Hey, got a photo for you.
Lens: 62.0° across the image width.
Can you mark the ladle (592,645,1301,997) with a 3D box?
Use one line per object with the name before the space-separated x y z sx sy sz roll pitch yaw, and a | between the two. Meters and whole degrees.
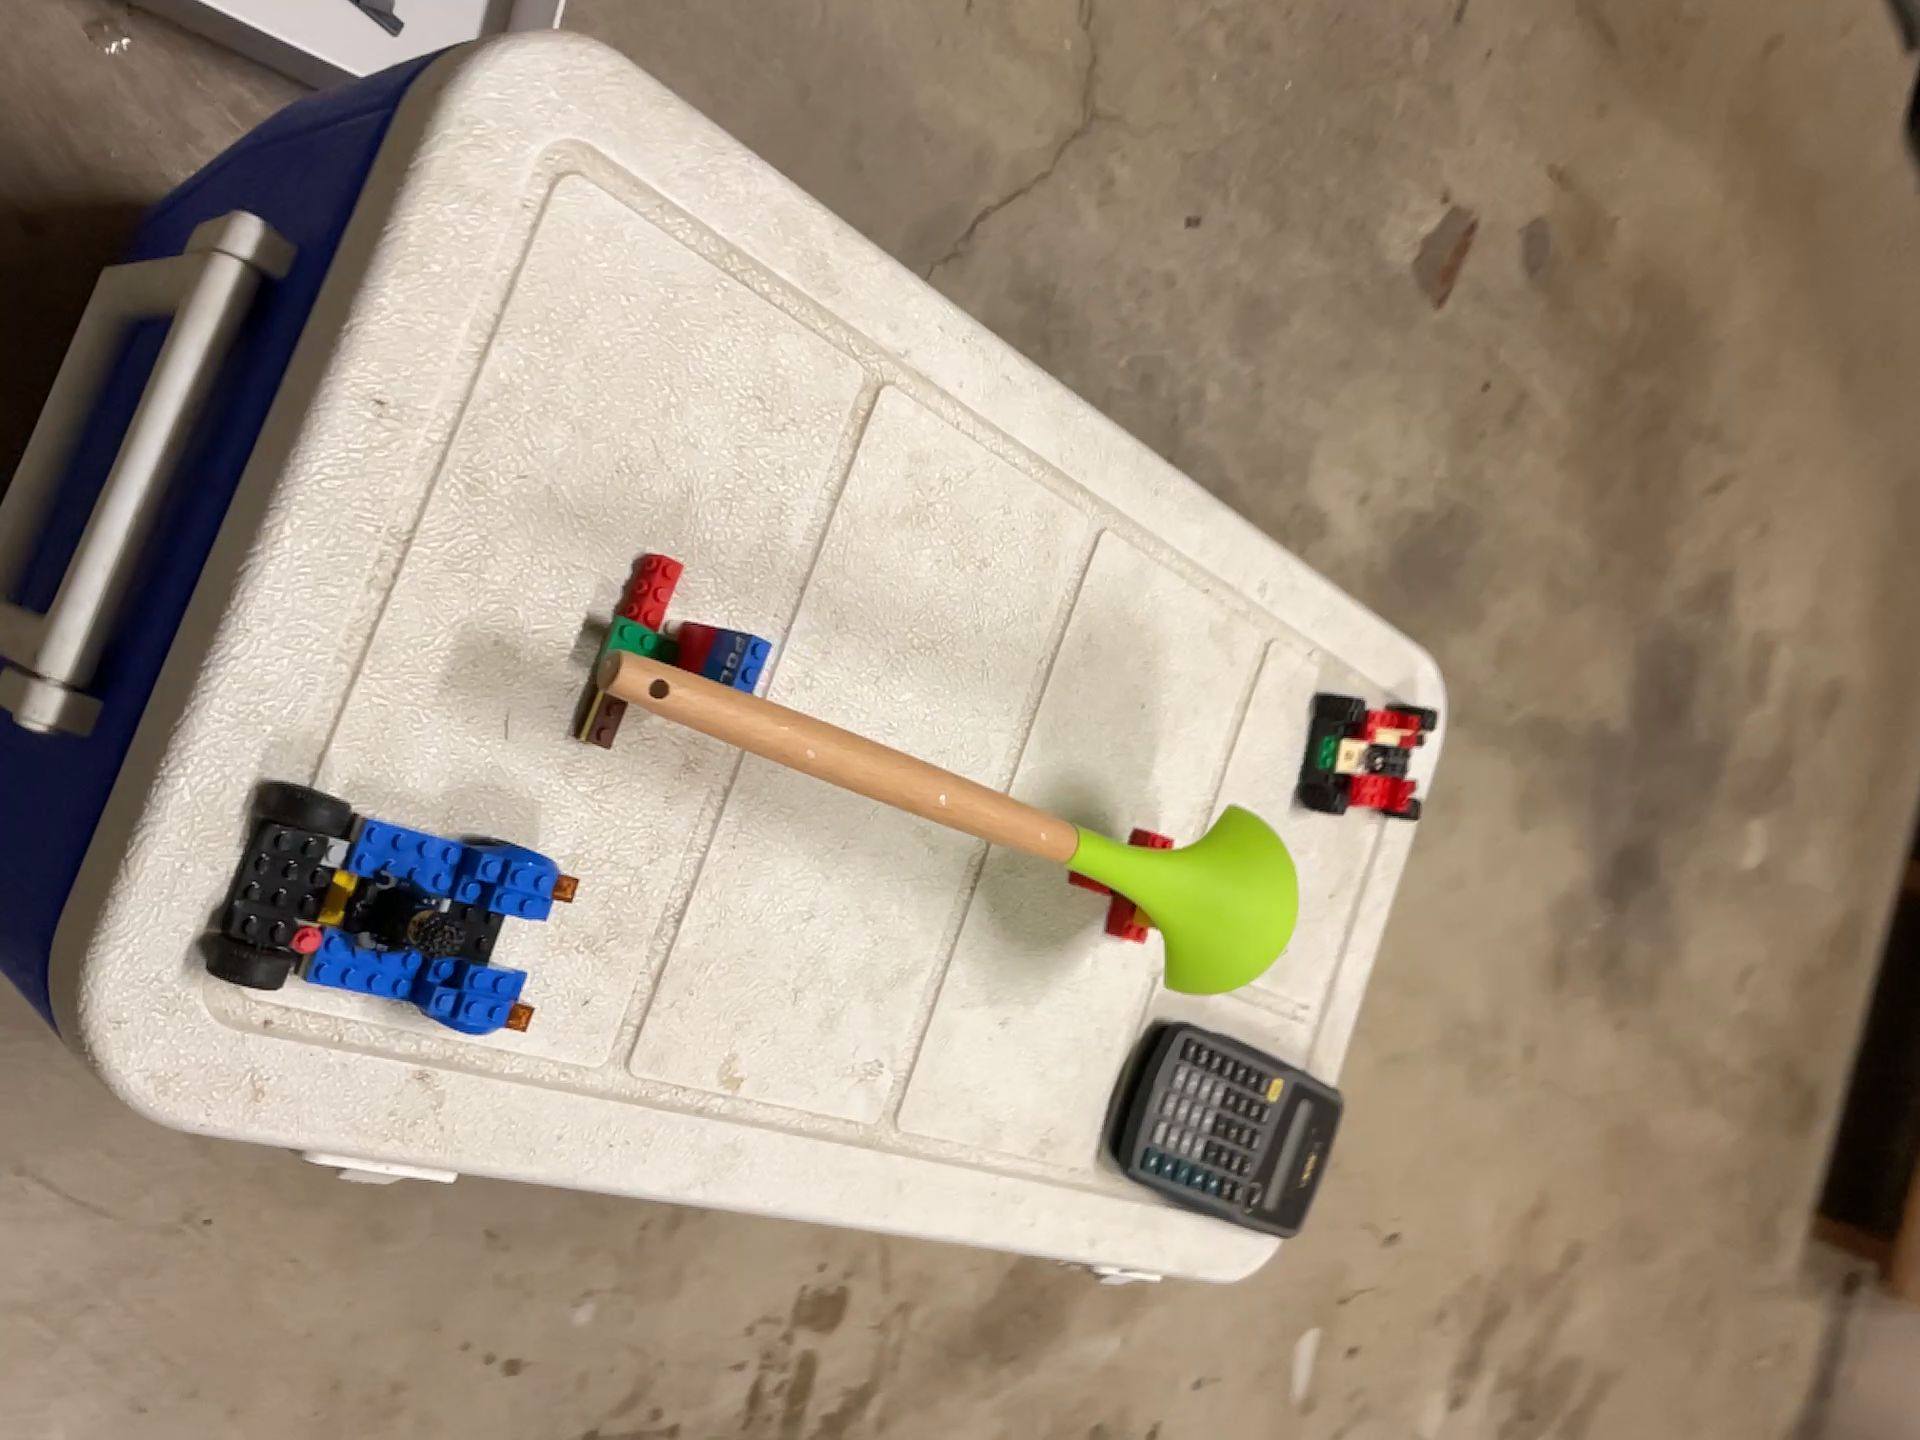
ladle | 0.010 0.033 0.554 0.320 0.062 0.078 23 89 -36
